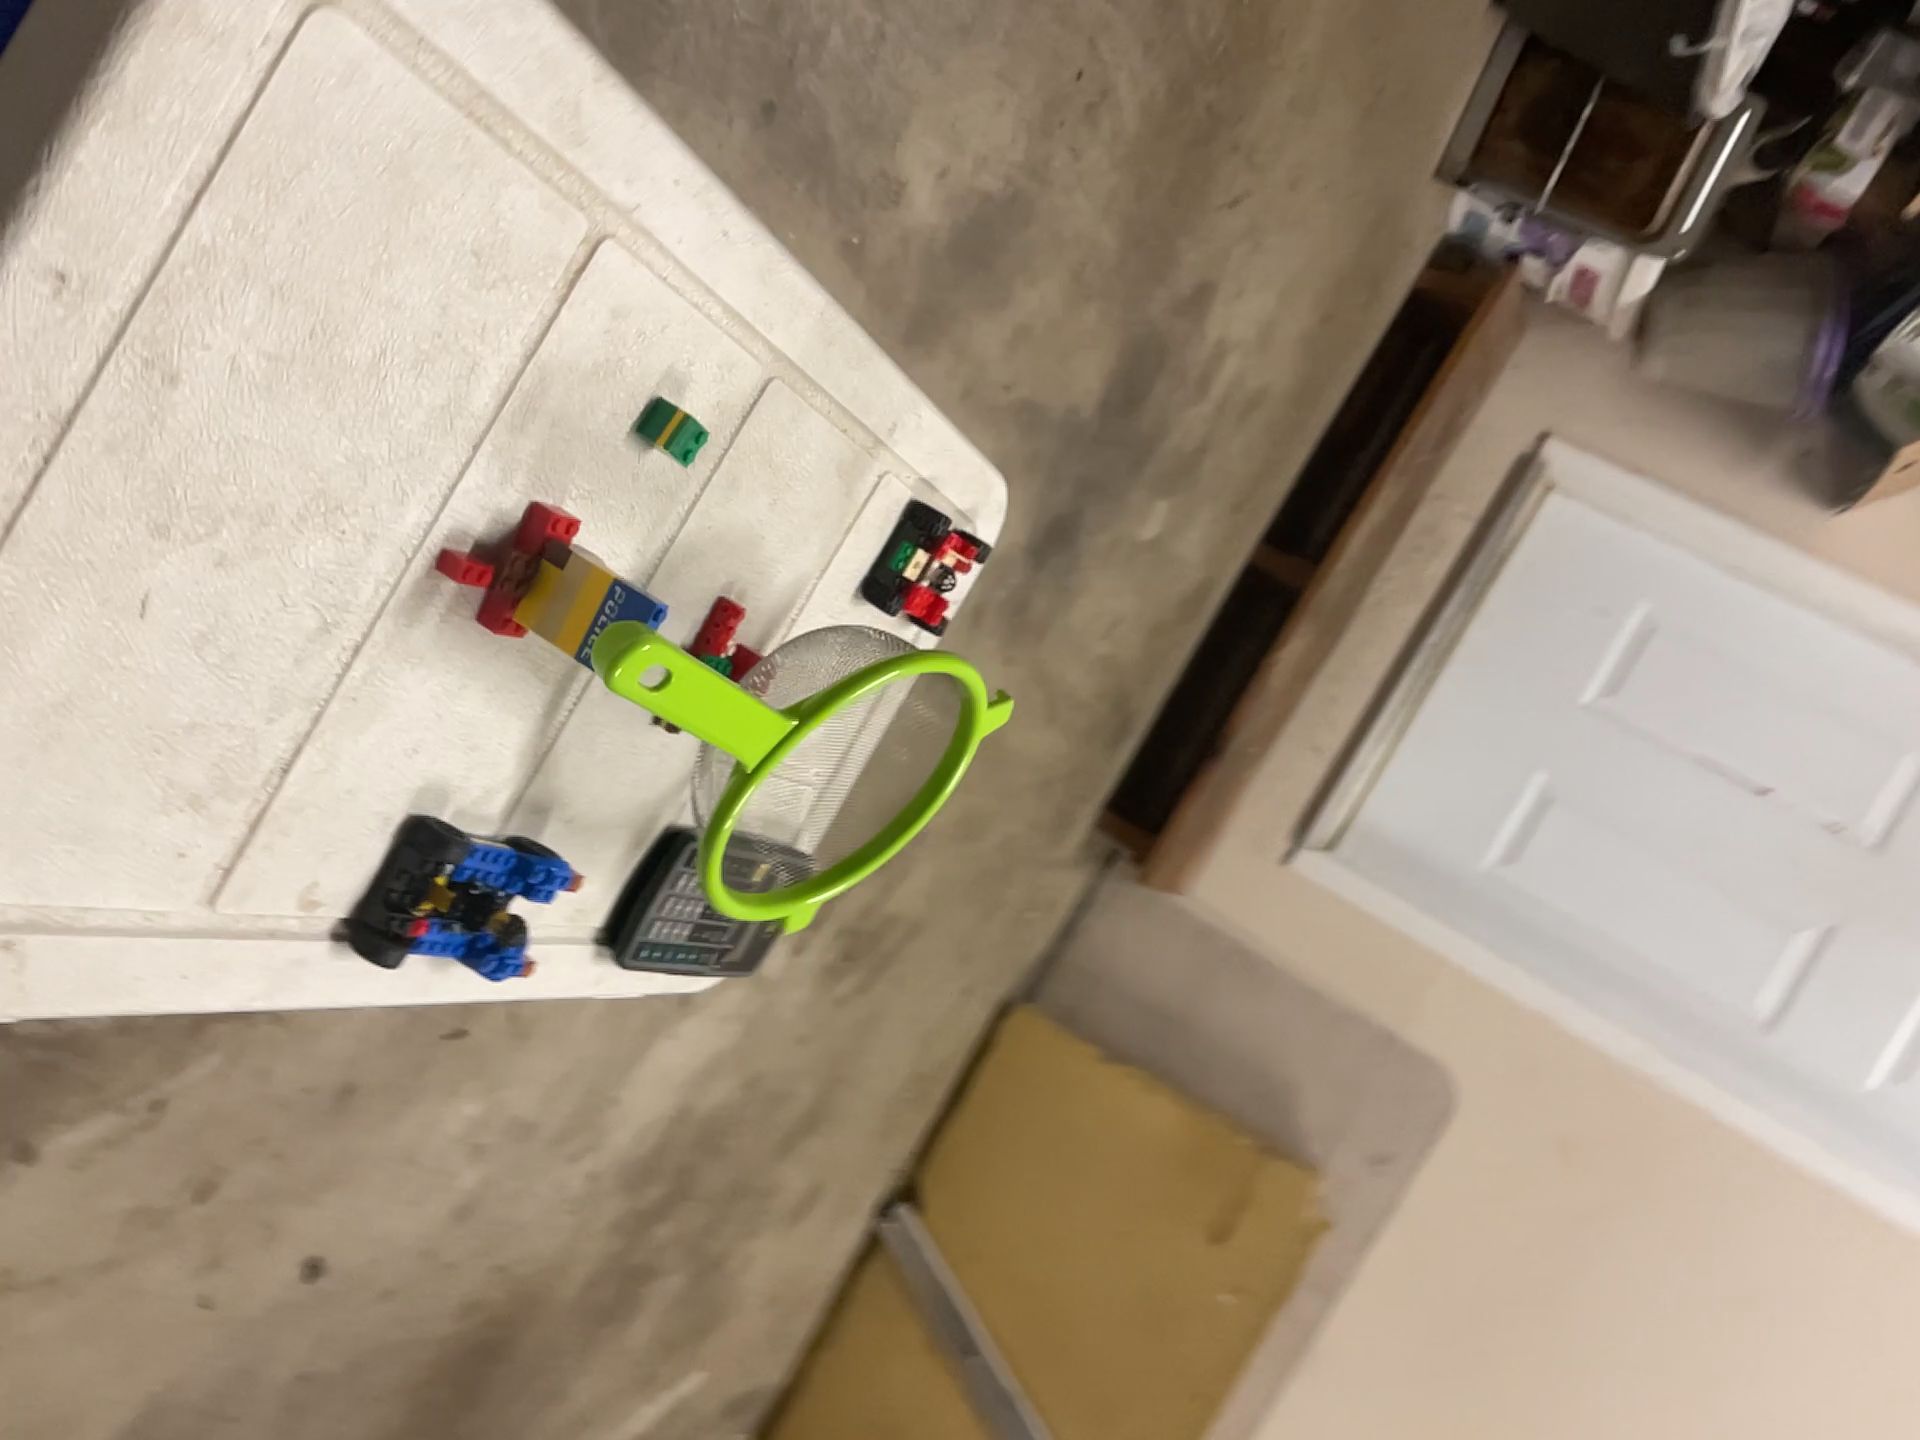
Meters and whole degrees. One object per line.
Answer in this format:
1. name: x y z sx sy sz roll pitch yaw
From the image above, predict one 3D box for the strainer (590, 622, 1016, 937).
1. strainer: -0.083 -0.002 0.647 0.151 0.069 0.256 -46 153 3
